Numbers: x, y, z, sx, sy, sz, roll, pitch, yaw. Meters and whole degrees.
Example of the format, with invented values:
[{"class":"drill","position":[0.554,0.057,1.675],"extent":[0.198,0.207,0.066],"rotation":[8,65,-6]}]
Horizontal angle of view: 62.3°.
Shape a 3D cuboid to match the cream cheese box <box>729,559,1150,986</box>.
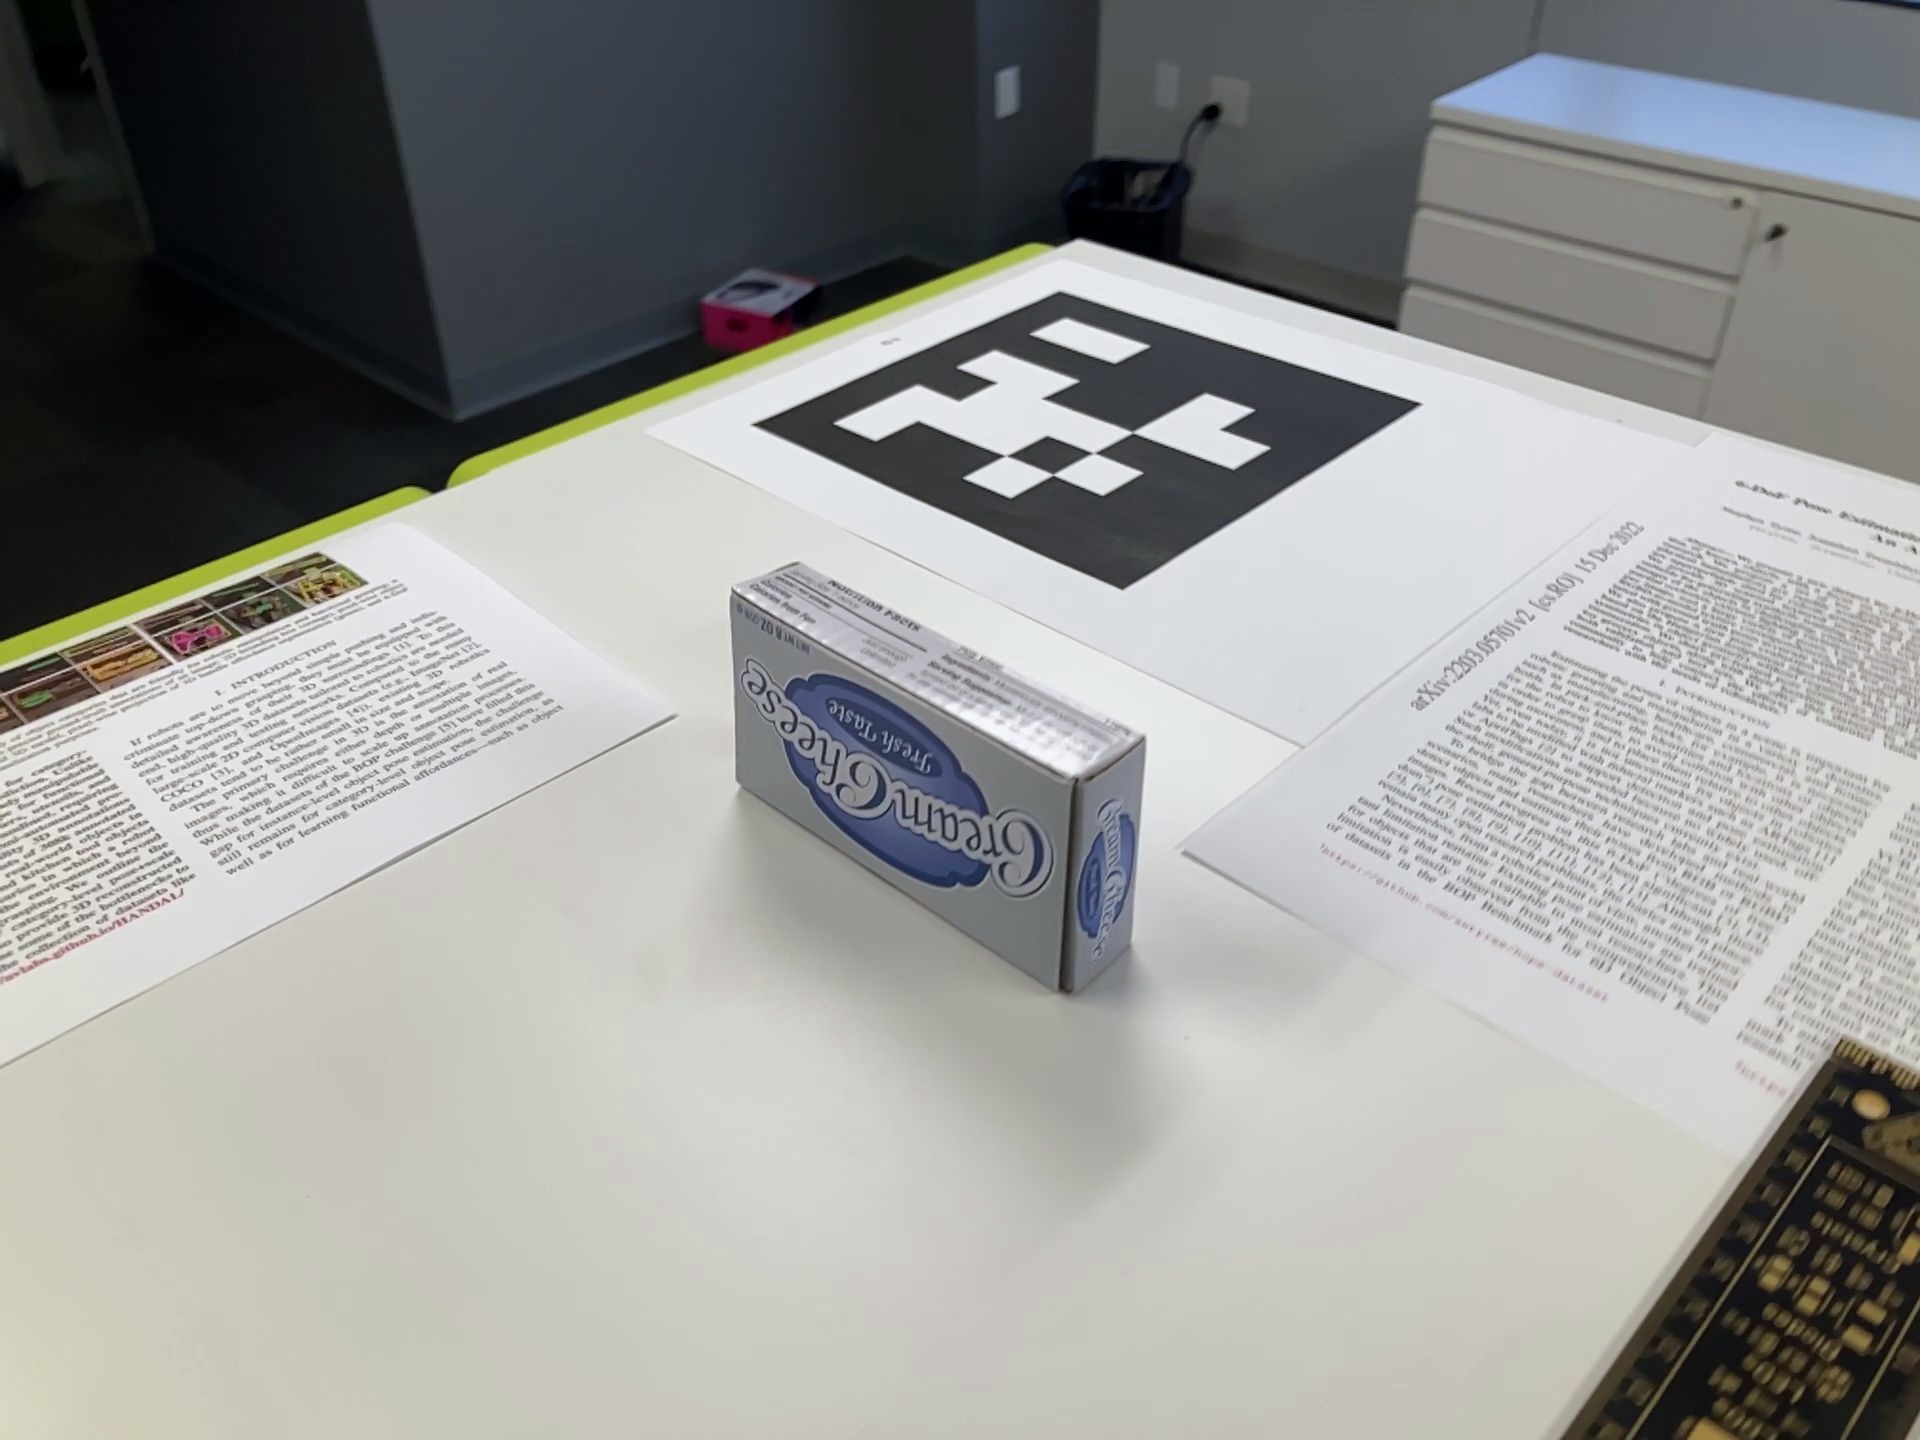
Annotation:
[{"class":"cream cheese box","position":[-0.008,0.008,0.338],"extent":[0.104,0.053,0.024],"rotation":[28,43,34]}]
